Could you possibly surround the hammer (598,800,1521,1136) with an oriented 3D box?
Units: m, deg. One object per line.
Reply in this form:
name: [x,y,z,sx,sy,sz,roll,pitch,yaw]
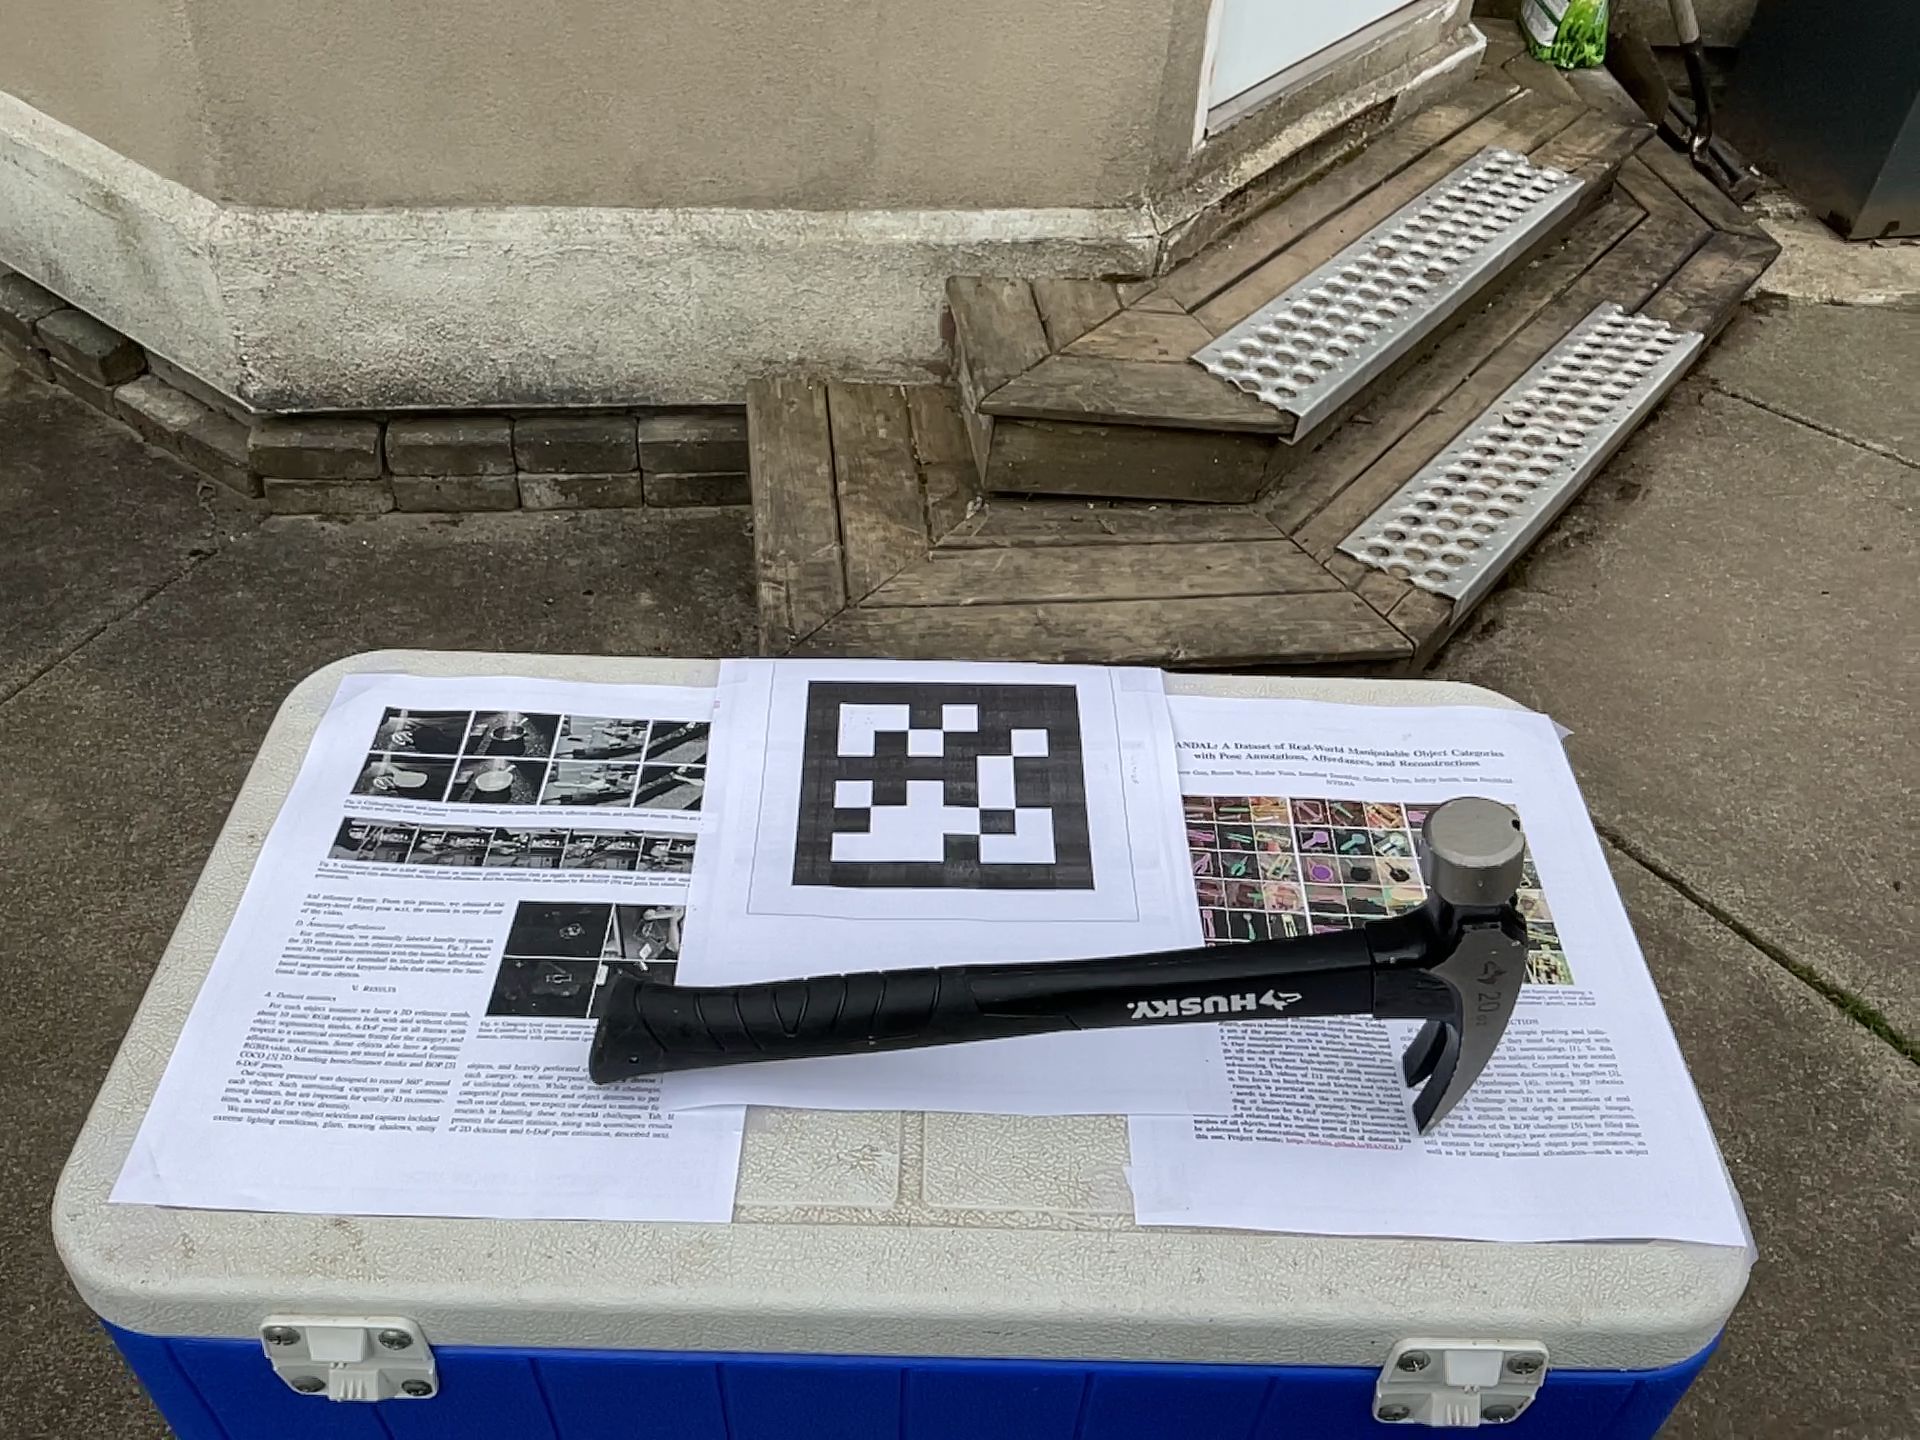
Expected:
hammer: [0.028,0.106,0.585,0.335,0.146,0.035,-6,41,7]
